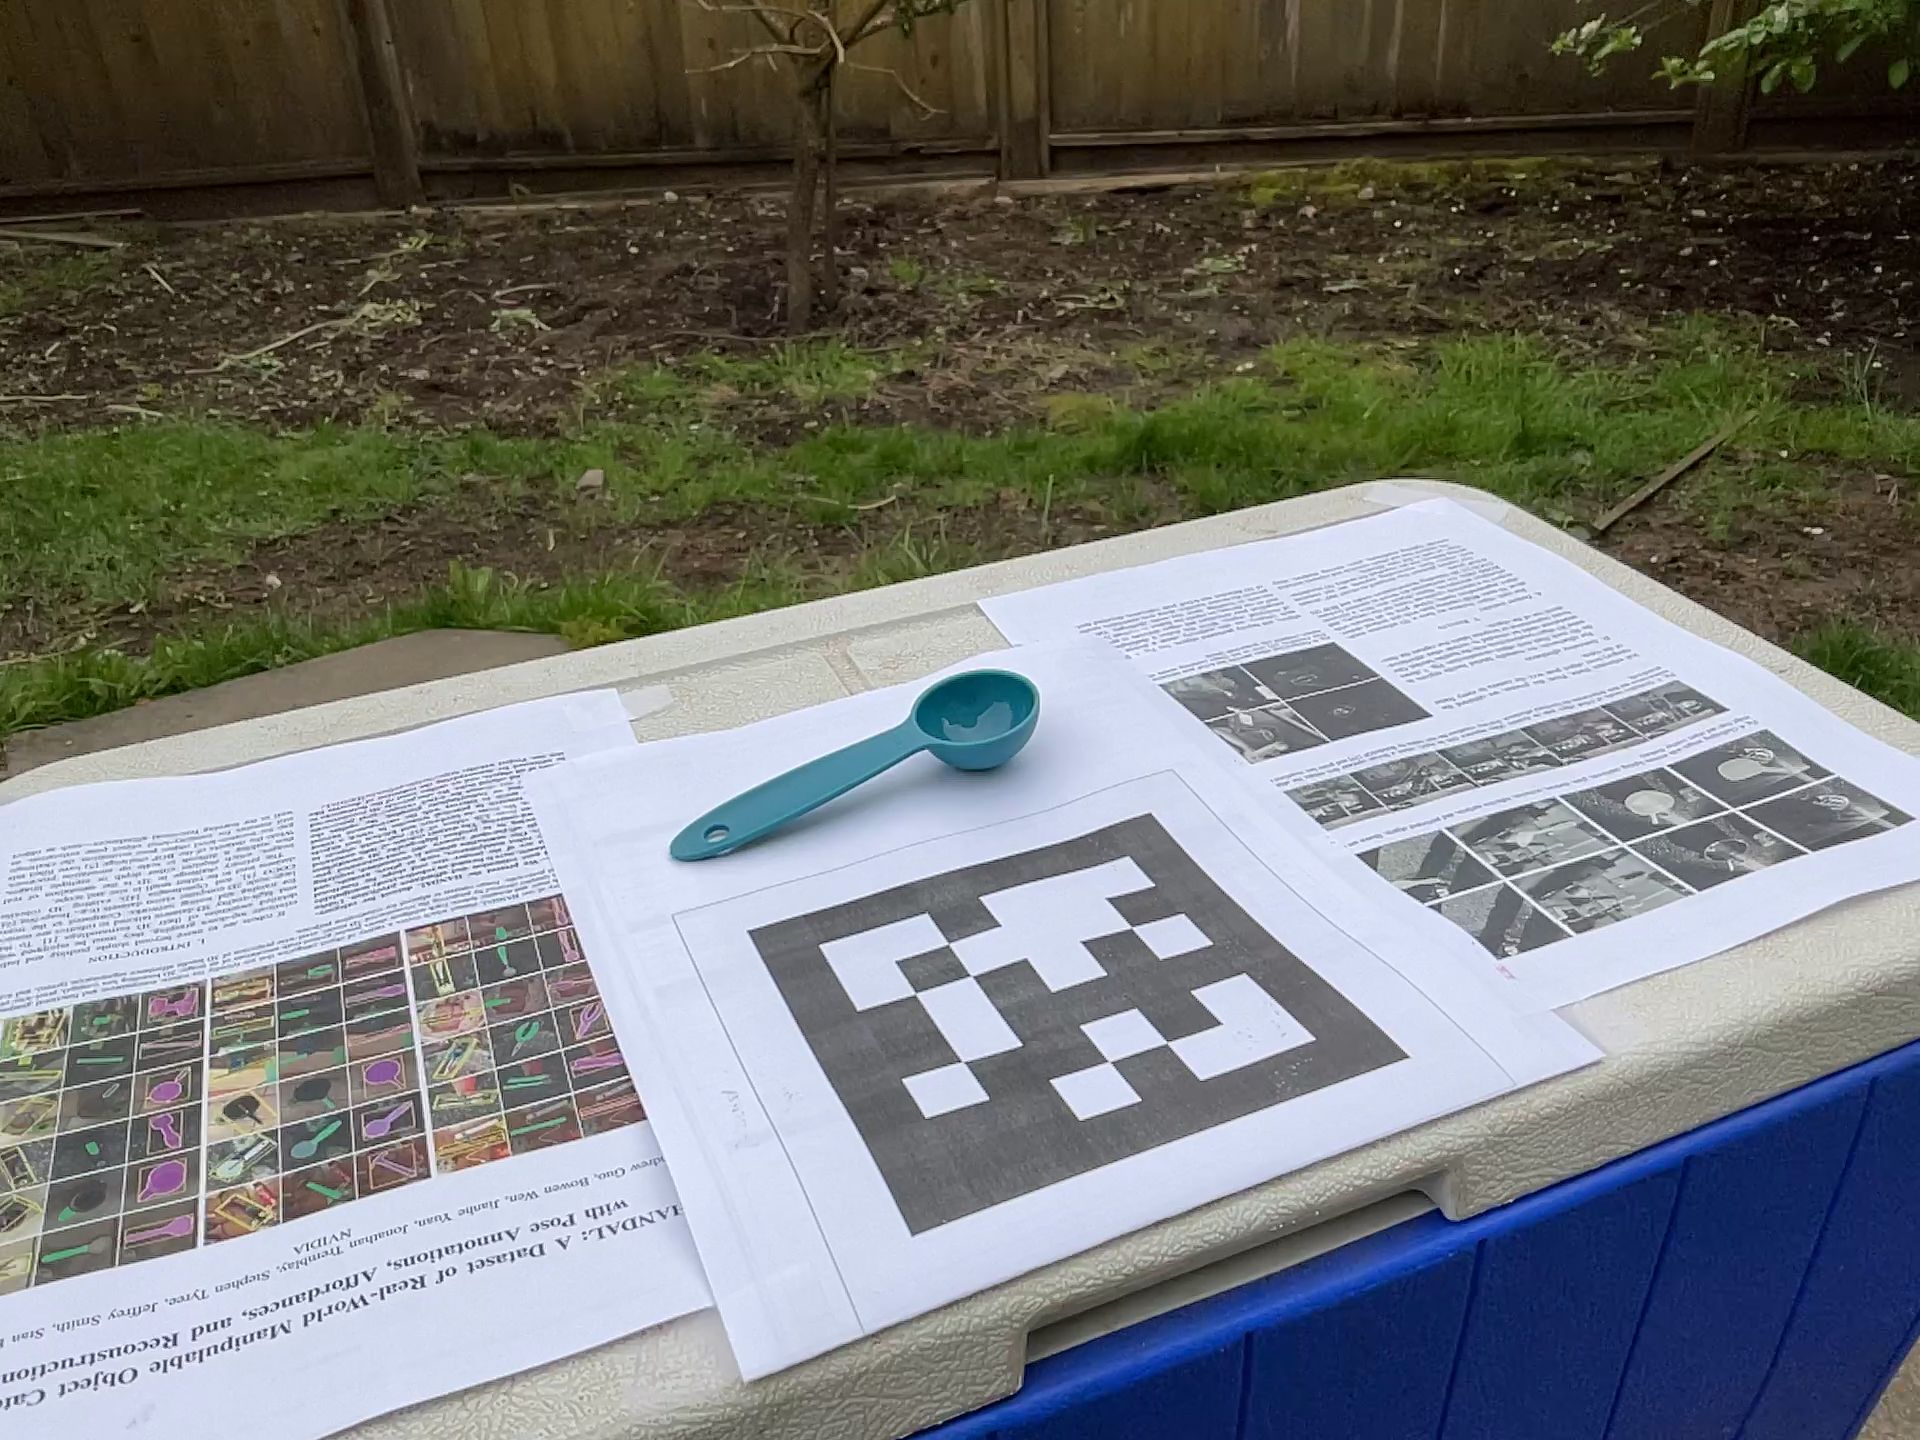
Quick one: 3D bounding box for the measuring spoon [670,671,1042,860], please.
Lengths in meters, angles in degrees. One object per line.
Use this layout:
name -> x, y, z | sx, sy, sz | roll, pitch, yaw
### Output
measuring spoon -> -0.031, 0.021, 0.509 | 0.128, 0.021, 0.042 | -25, 36, -16
